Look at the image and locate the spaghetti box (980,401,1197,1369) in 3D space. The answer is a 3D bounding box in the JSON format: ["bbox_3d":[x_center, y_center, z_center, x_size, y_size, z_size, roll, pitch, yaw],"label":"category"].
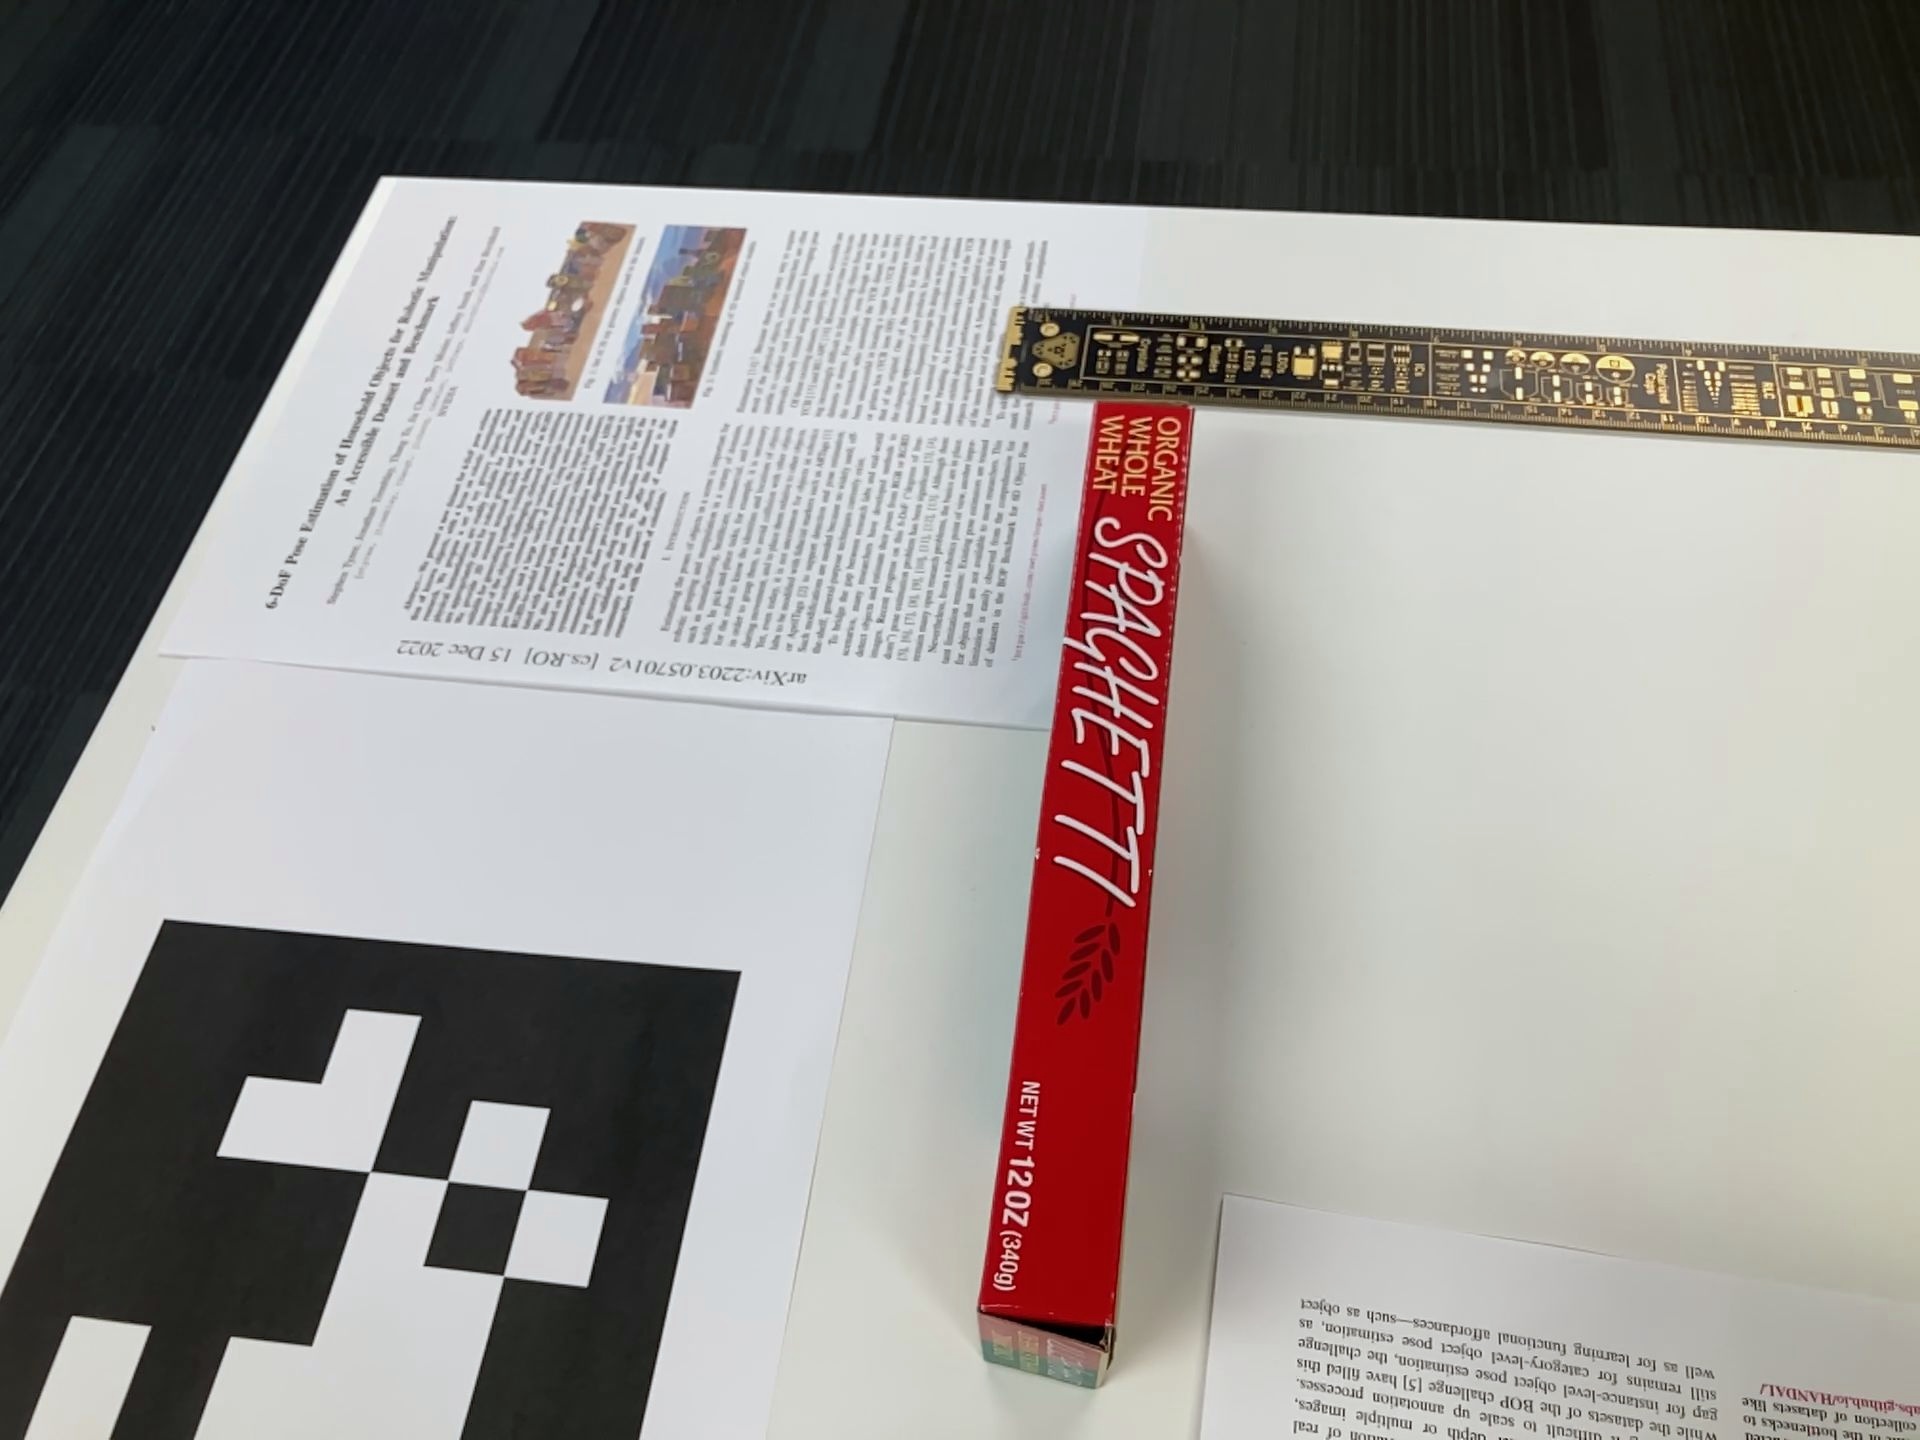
[{"bbox_3d":[0.036,0.026,0.399,0.028,0.050,0.250,6,58,6],"label":"spaghetti box"}]
